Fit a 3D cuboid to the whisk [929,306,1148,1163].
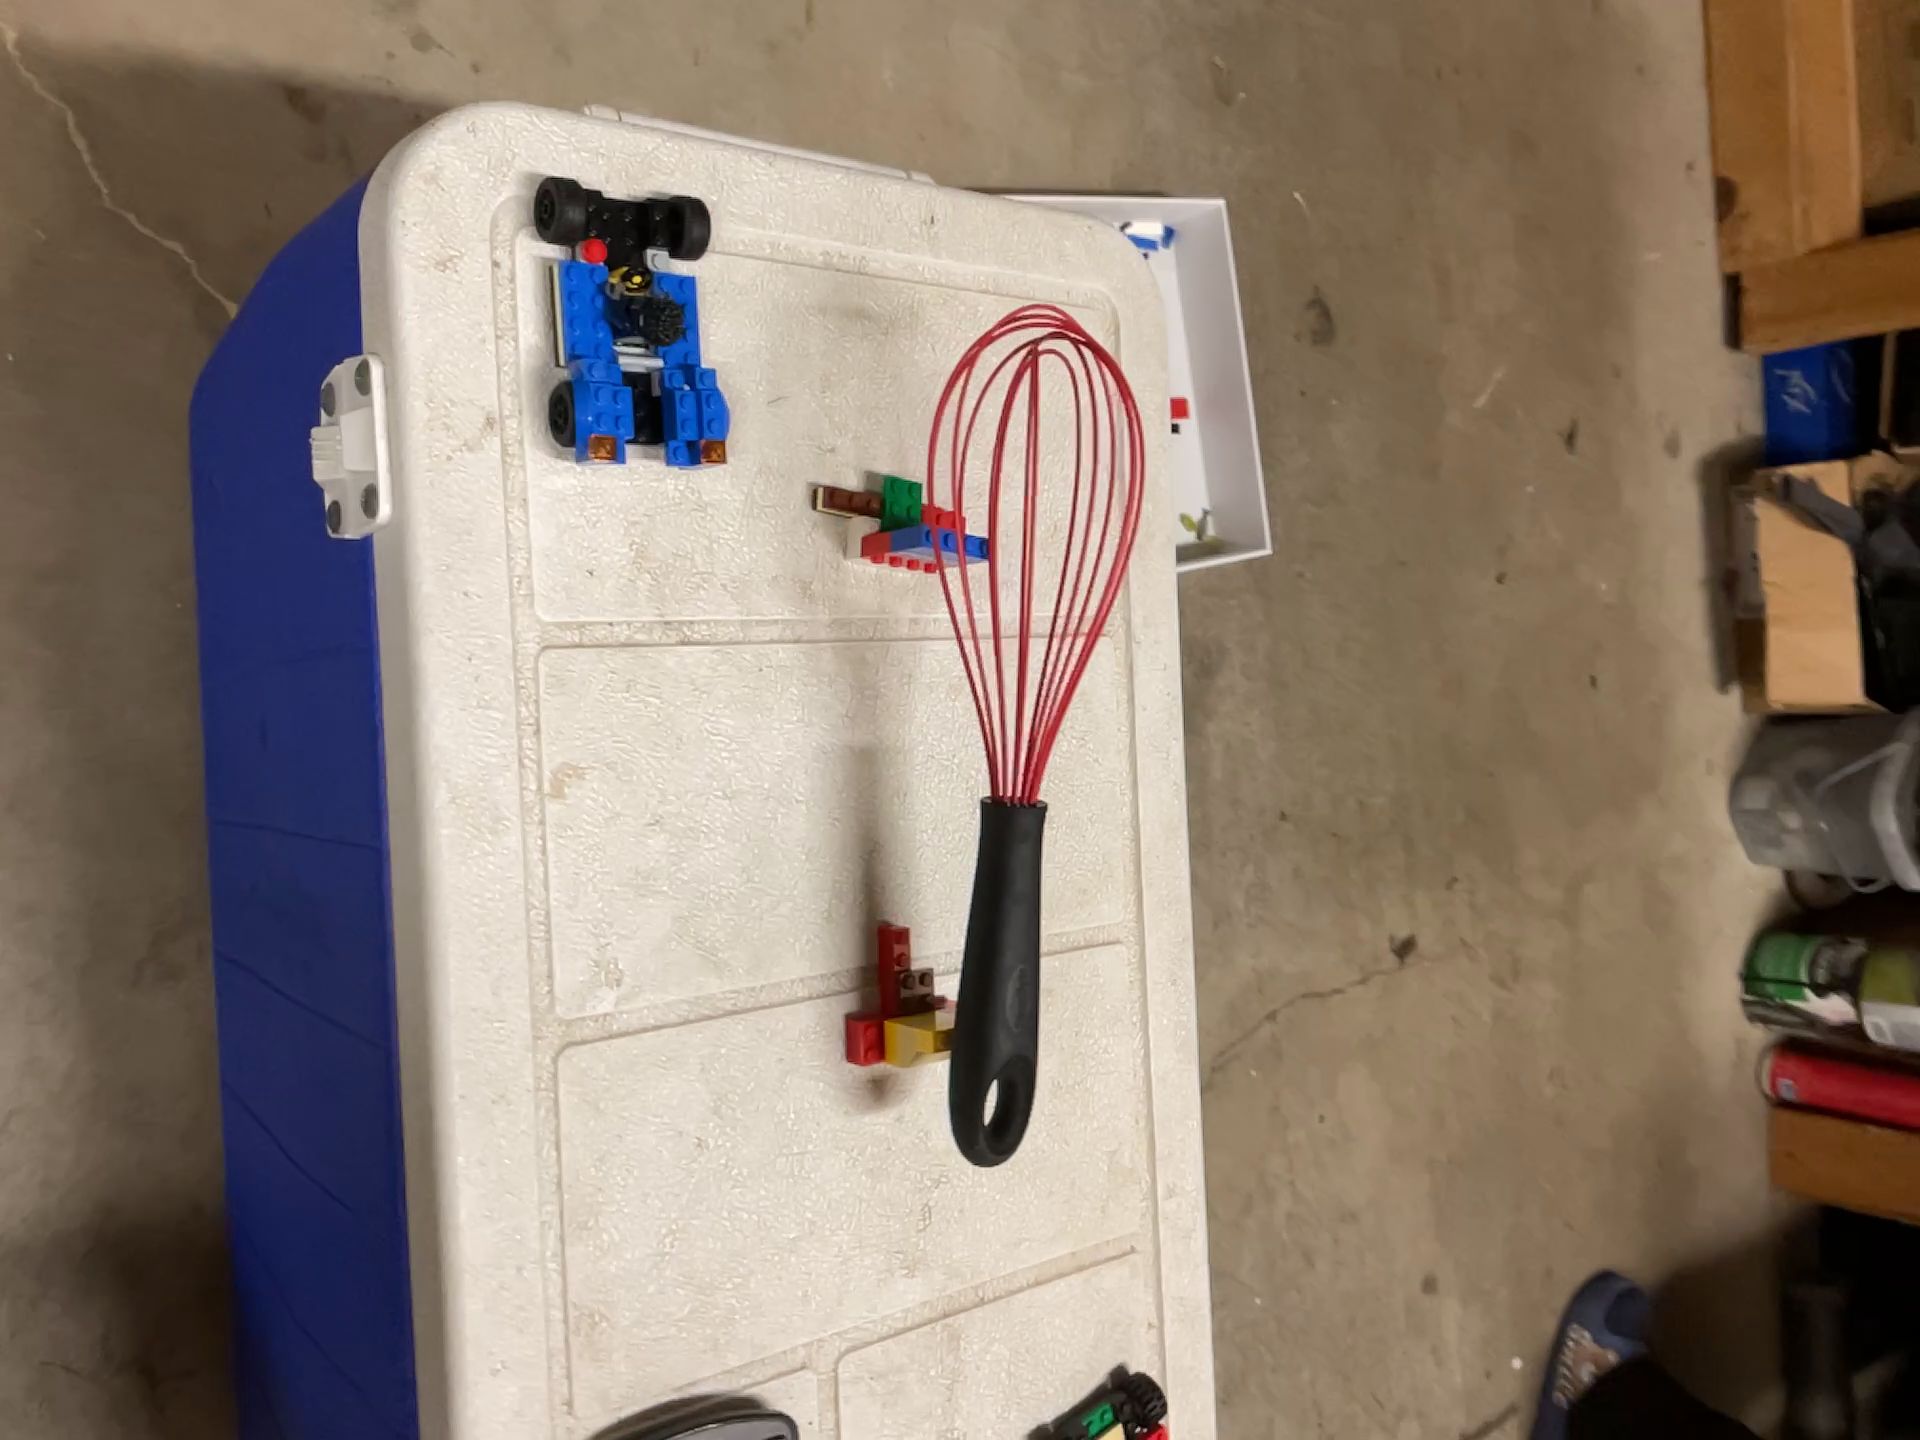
[{"bbox_3d":[0.020,0.009,0.546,0.073,0.073,0.296,-1,99,-41],"label":"whisk"}]
